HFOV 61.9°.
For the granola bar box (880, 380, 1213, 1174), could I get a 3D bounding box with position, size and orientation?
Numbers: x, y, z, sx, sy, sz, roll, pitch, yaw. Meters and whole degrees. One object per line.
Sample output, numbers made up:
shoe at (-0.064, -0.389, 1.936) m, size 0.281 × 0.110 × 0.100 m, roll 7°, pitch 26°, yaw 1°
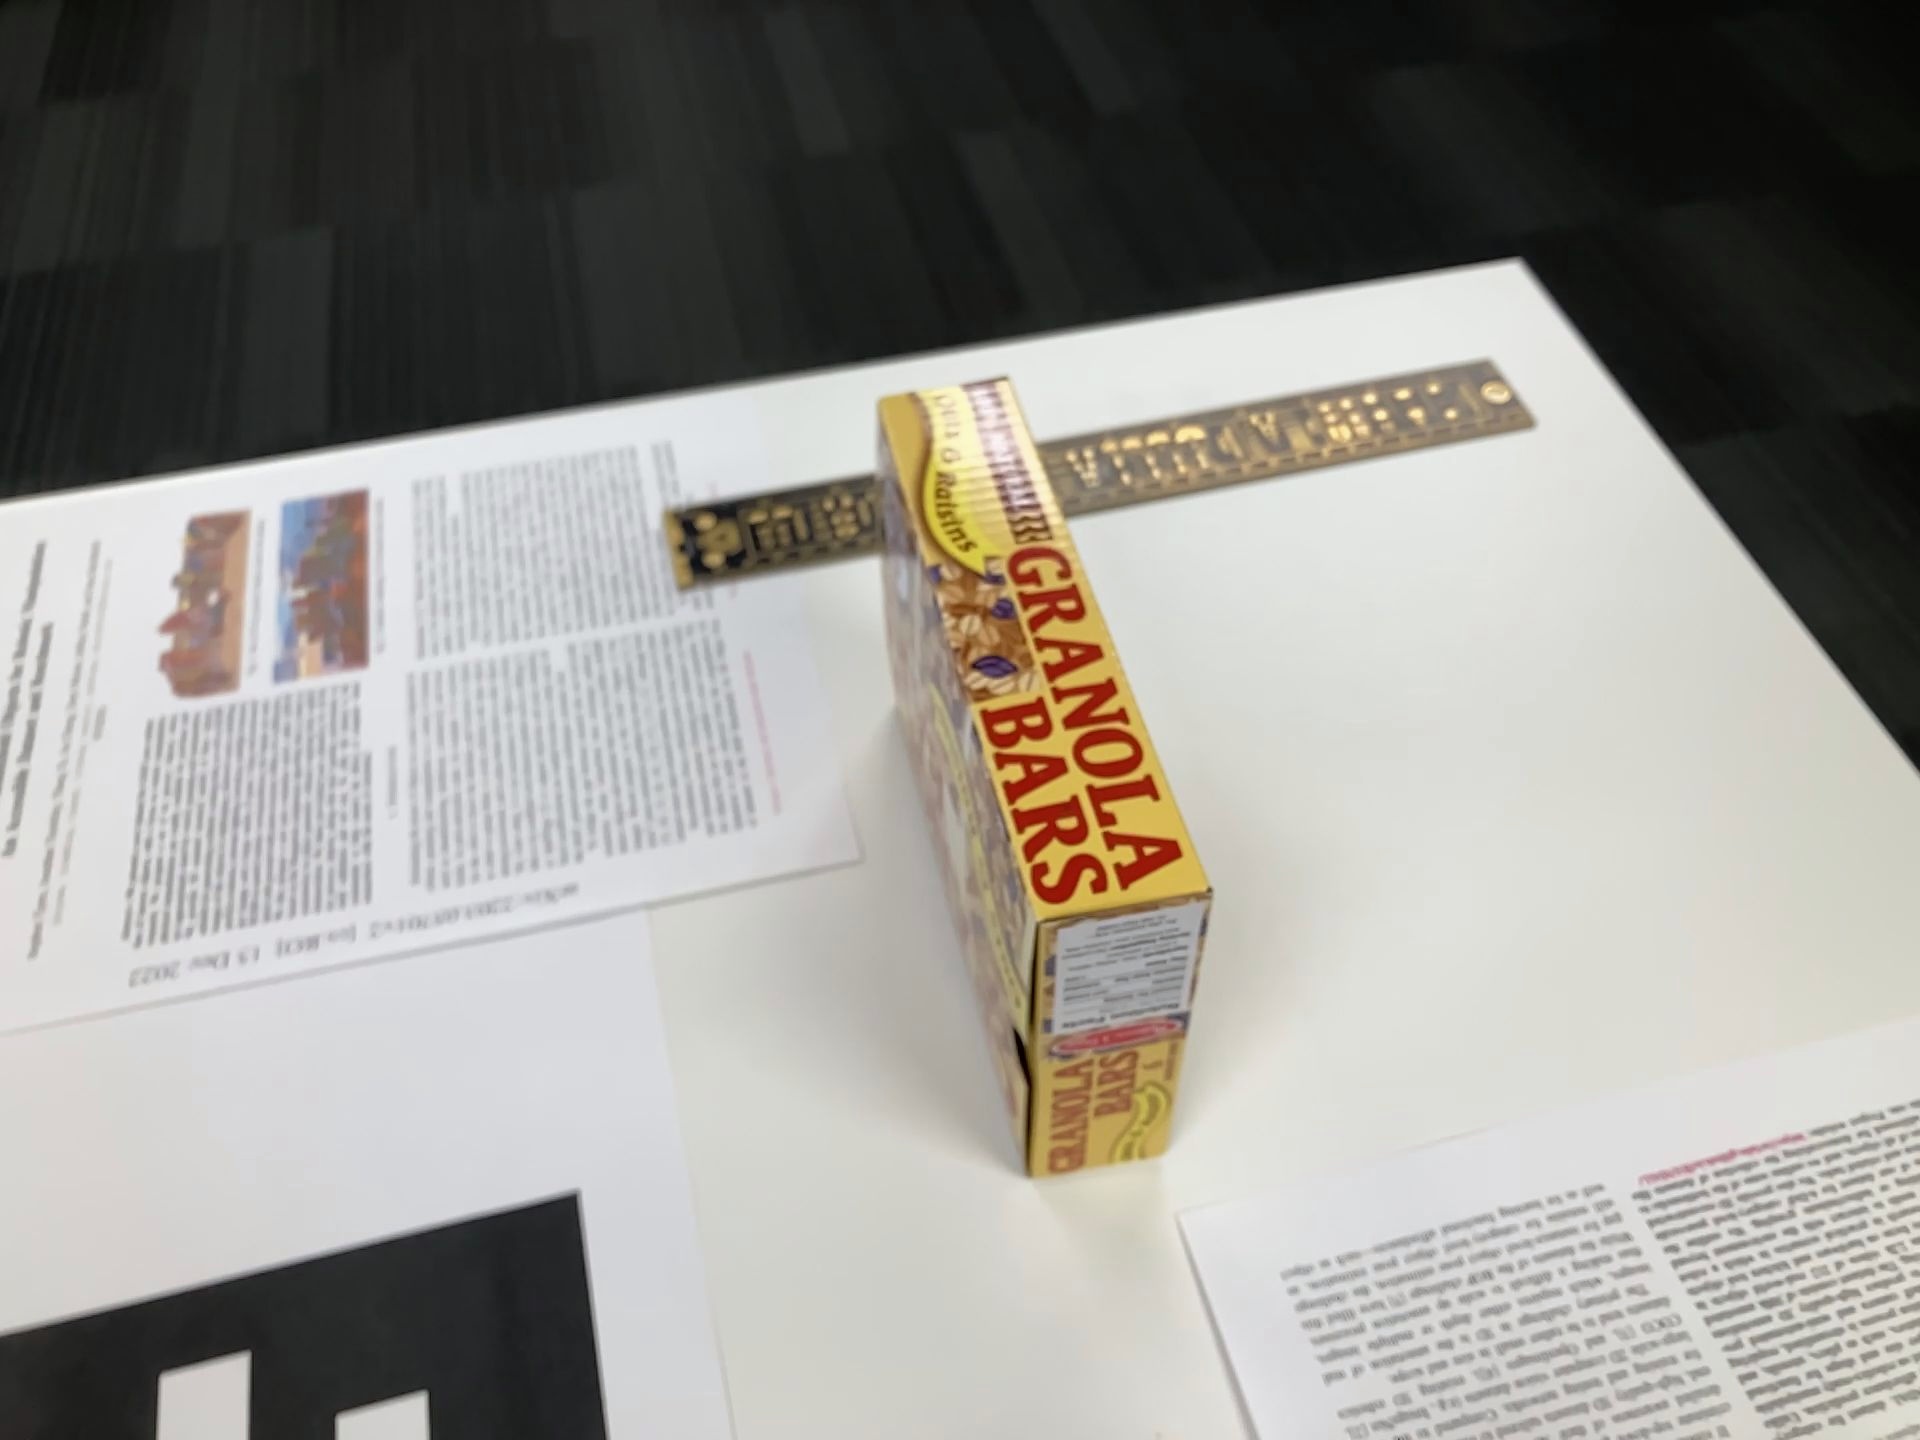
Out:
granola bar box at (0.015, 0.014, 0.414) m, size 0.039 × 0.124 × 0.165 m, roll -11°, pitch 51°, yaw -7°
